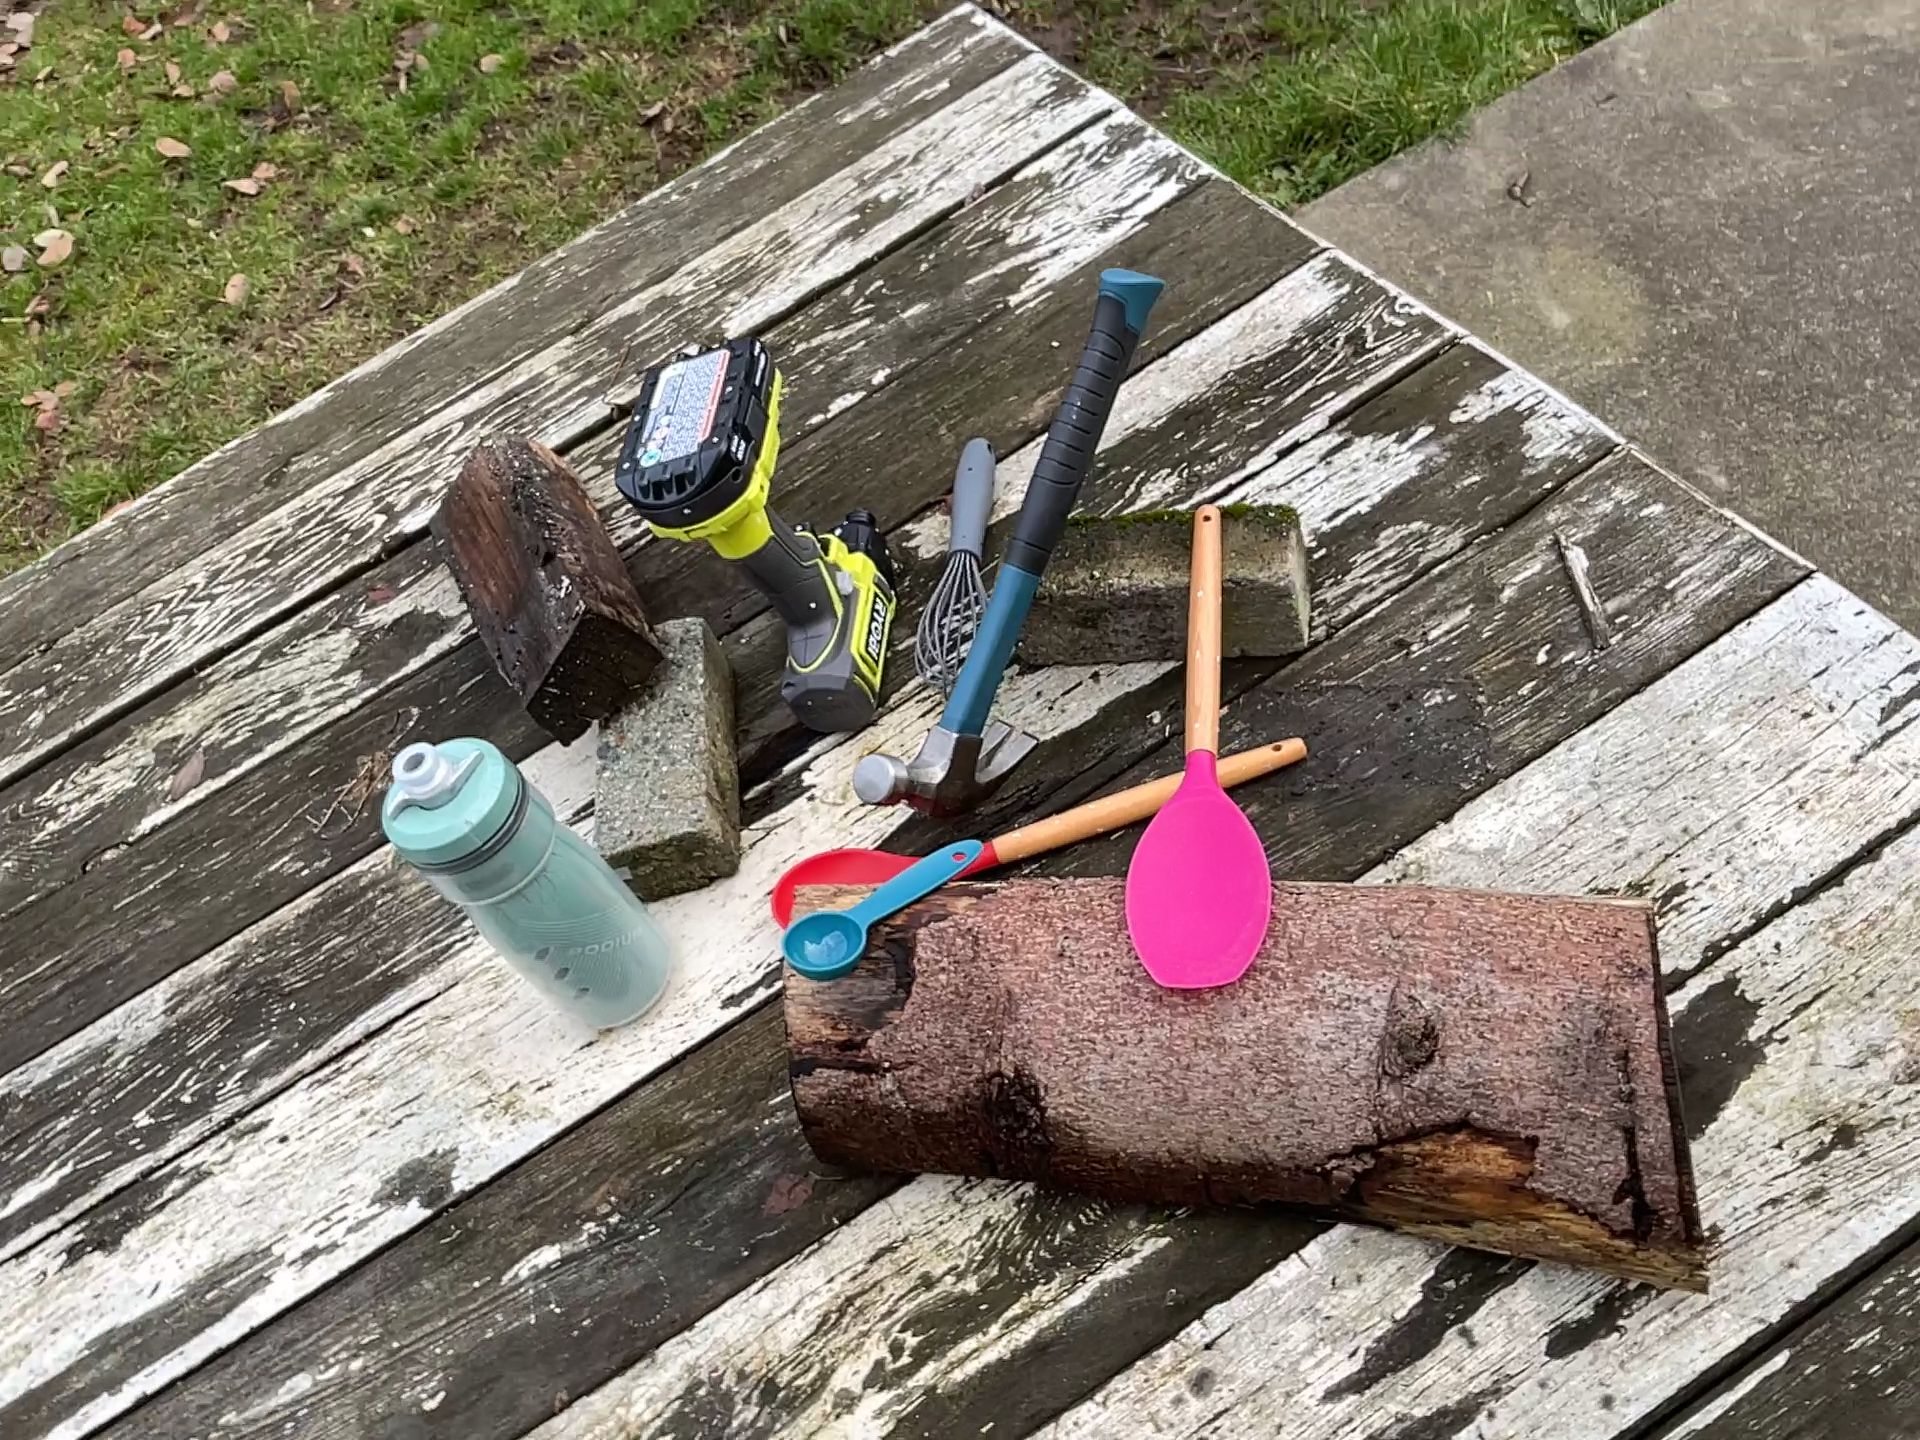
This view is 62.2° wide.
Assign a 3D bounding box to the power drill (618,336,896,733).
[{"bbox_3d":[-0.111,-0.122,0.999,0.080,0.222,0.171,-12,49,22],"label":"power drill"}]

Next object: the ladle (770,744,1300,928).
[{"bbox_3d":[0.043,0.067,0.921,0.315,0.031,0.069,-18,47,4],"label":"ladle"}]

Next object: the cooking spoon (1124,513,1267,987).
[{"bbox_3d":[0.127,0.003,0.832,0.069,0.017,0.319,-6,48,18],"label":"cooking spoon"}]

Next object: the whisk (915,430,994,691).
[{"bbox_3d":[0.004,-0.112,1.055,0.055,0.055,0.239,-2,50,9],"label":"whisk"}]

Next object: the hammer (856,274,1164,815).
[{"bbox_3d":[0.041,-0.100,0.921,0.033,0.128,0.331,26,98,32],"label":"hammer"}]

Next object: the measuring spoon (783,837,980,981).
[{"bbox_3d":[-0.036,0.098,0.825,0.128,0.021,0.042,-31,45,-33],"label":"measuring spoon"}]
